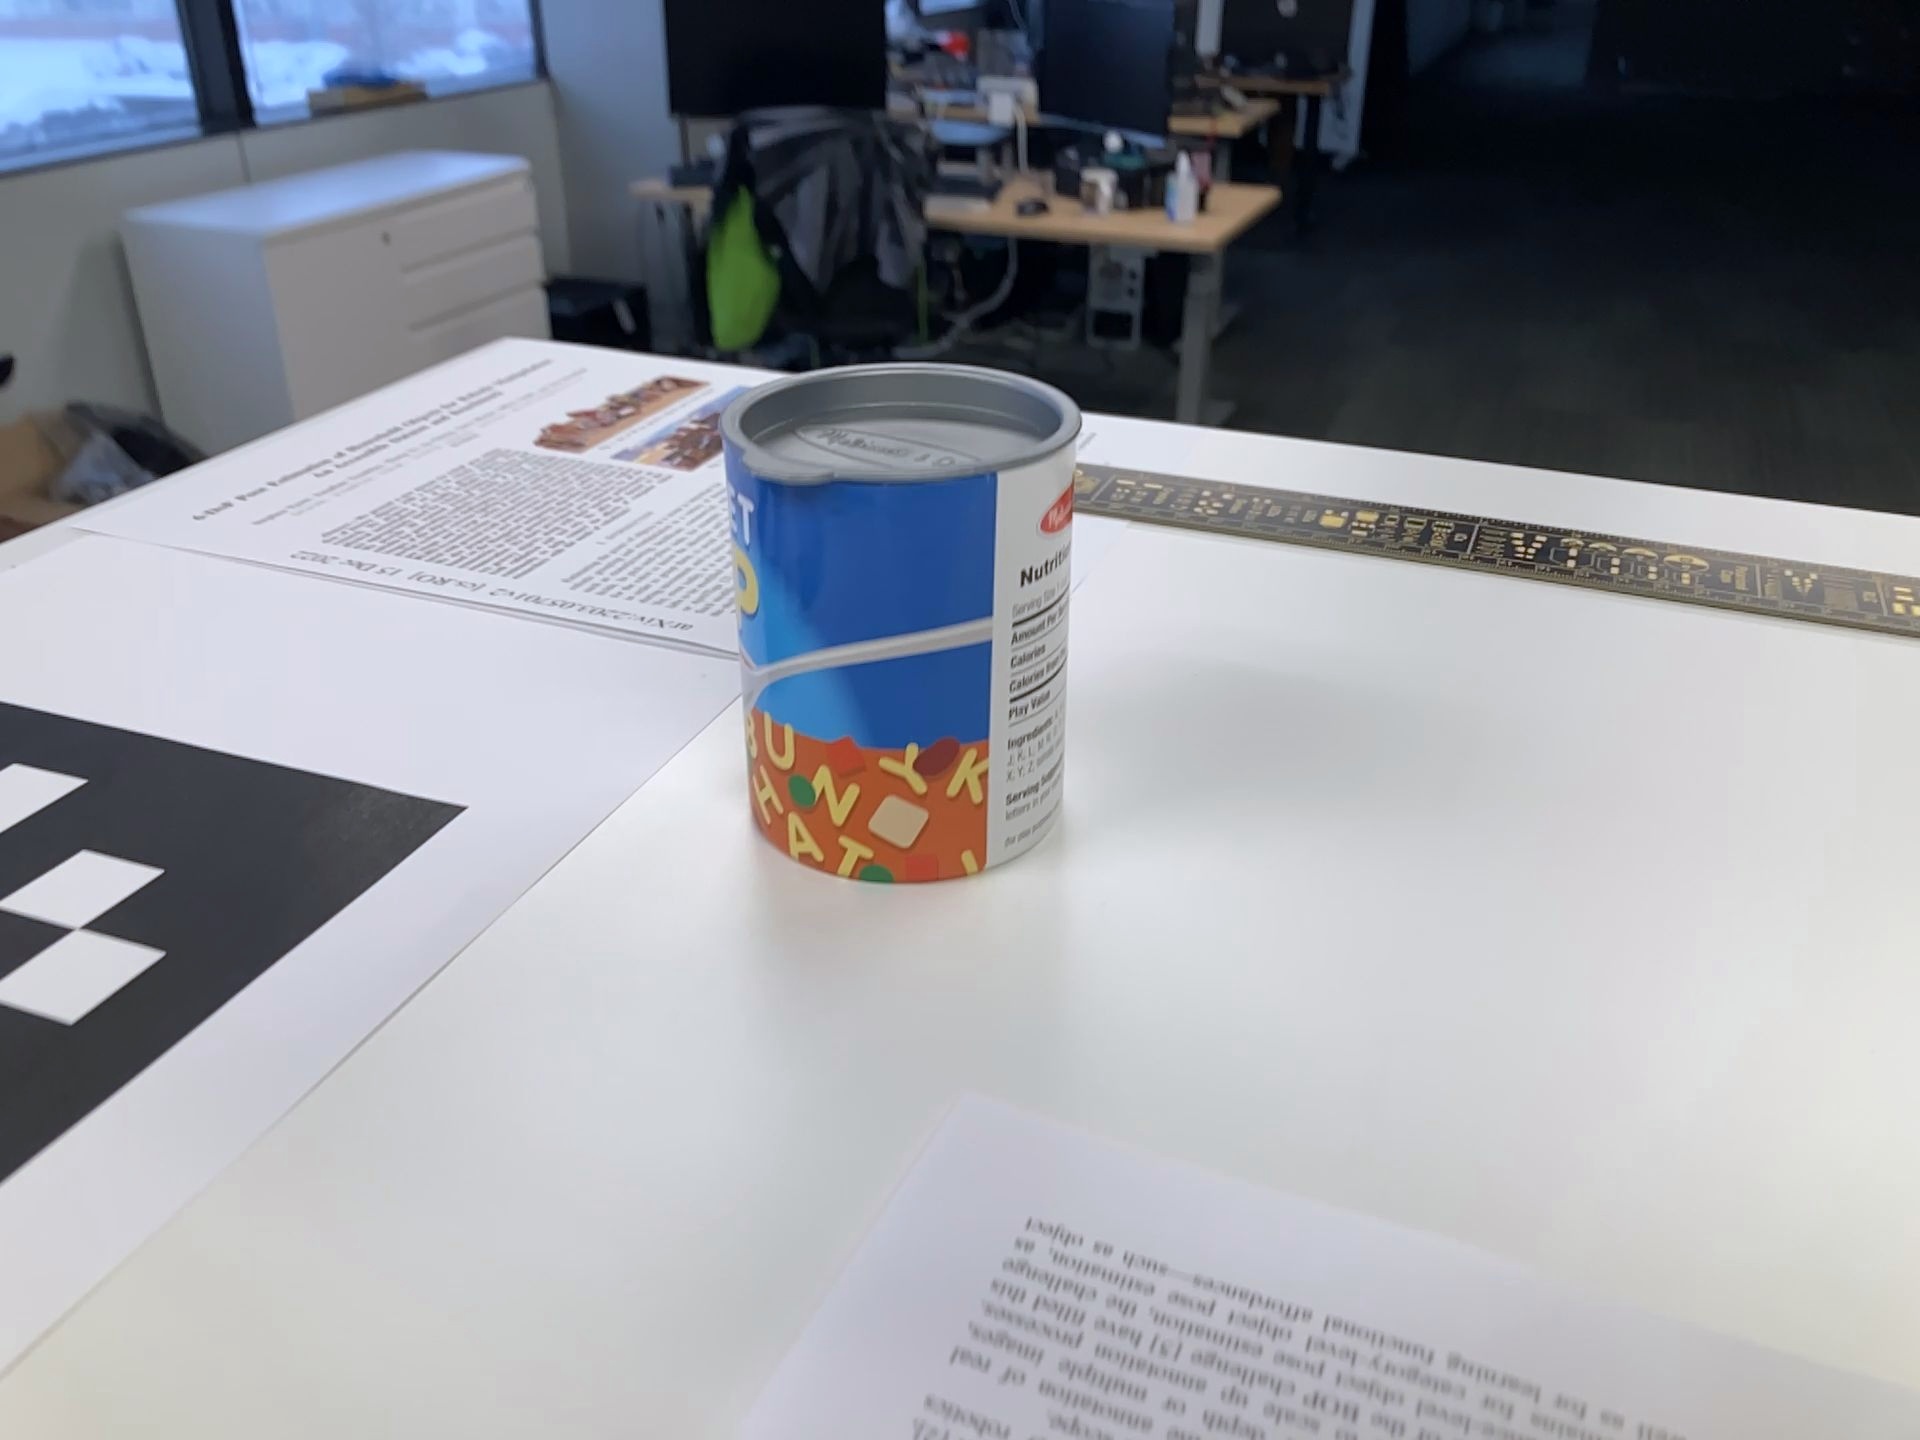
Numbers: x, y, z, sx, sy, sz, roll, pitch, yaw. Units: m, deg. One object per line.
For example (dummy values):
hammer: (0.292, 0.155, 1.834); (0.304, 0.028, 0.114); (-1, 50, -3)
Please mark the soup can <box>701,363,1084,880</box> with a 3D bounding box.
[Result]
soup can: (-0.013, -0.021, 0.313); (0.071, 0.084, 0.071); (1, 28, 0)
